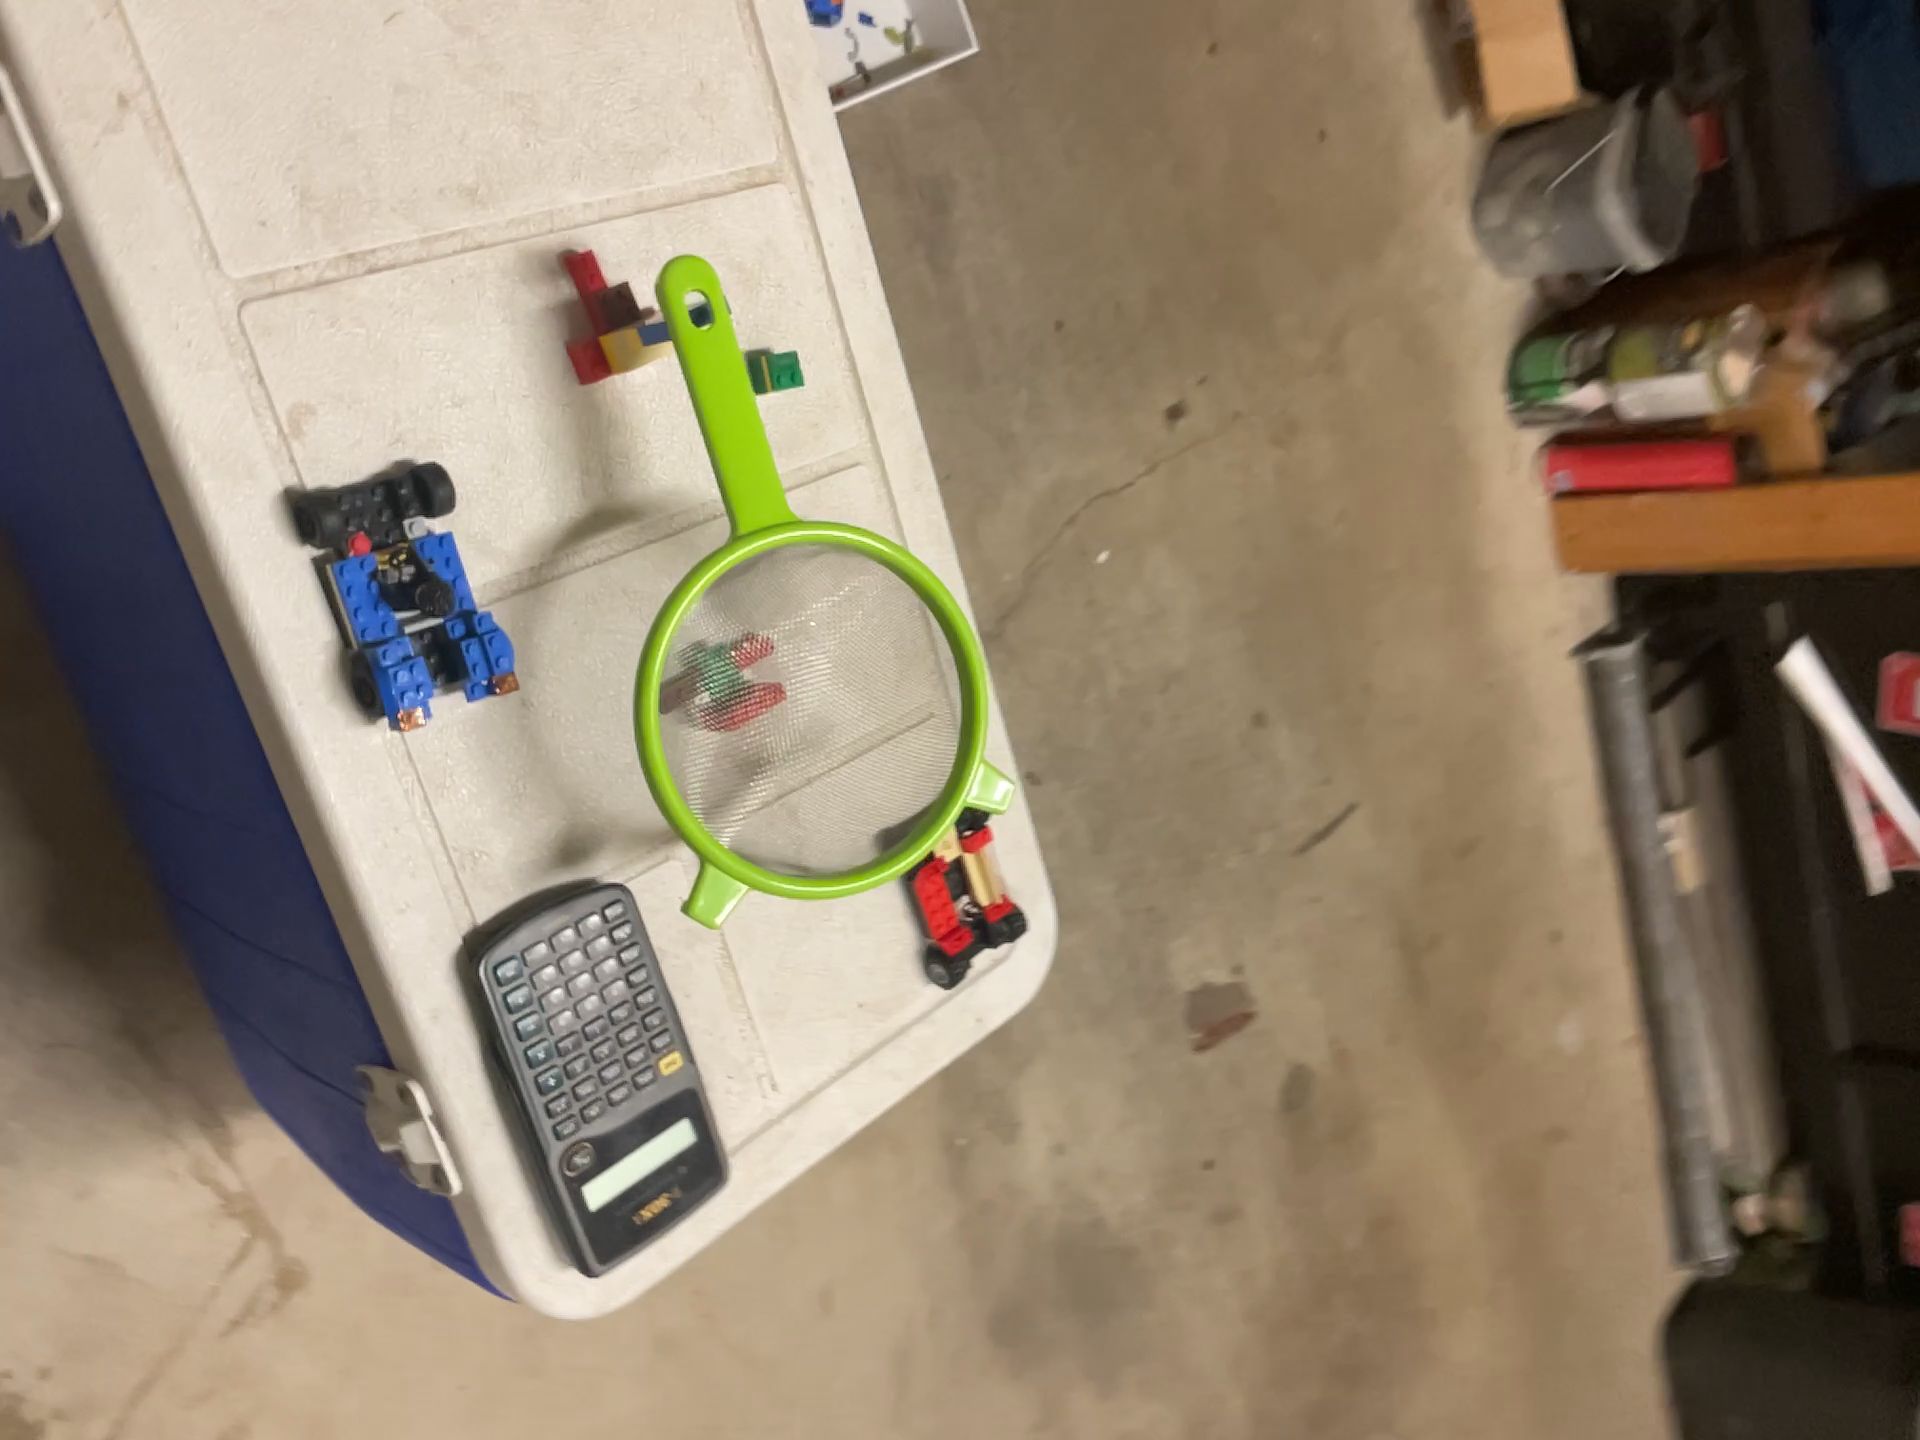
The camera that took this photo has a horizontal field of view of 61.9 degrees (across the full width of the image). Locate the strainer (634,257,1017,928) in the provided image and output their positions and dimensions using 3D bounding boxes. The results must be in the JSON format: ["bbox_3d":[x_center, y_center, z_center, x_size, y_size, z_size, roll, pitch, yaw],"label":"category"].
[{"bbox_3d":[-0.083,-0.054,0.652,0.152,0.069,0.256,-20,97,-27],"label":"strainer"}]
